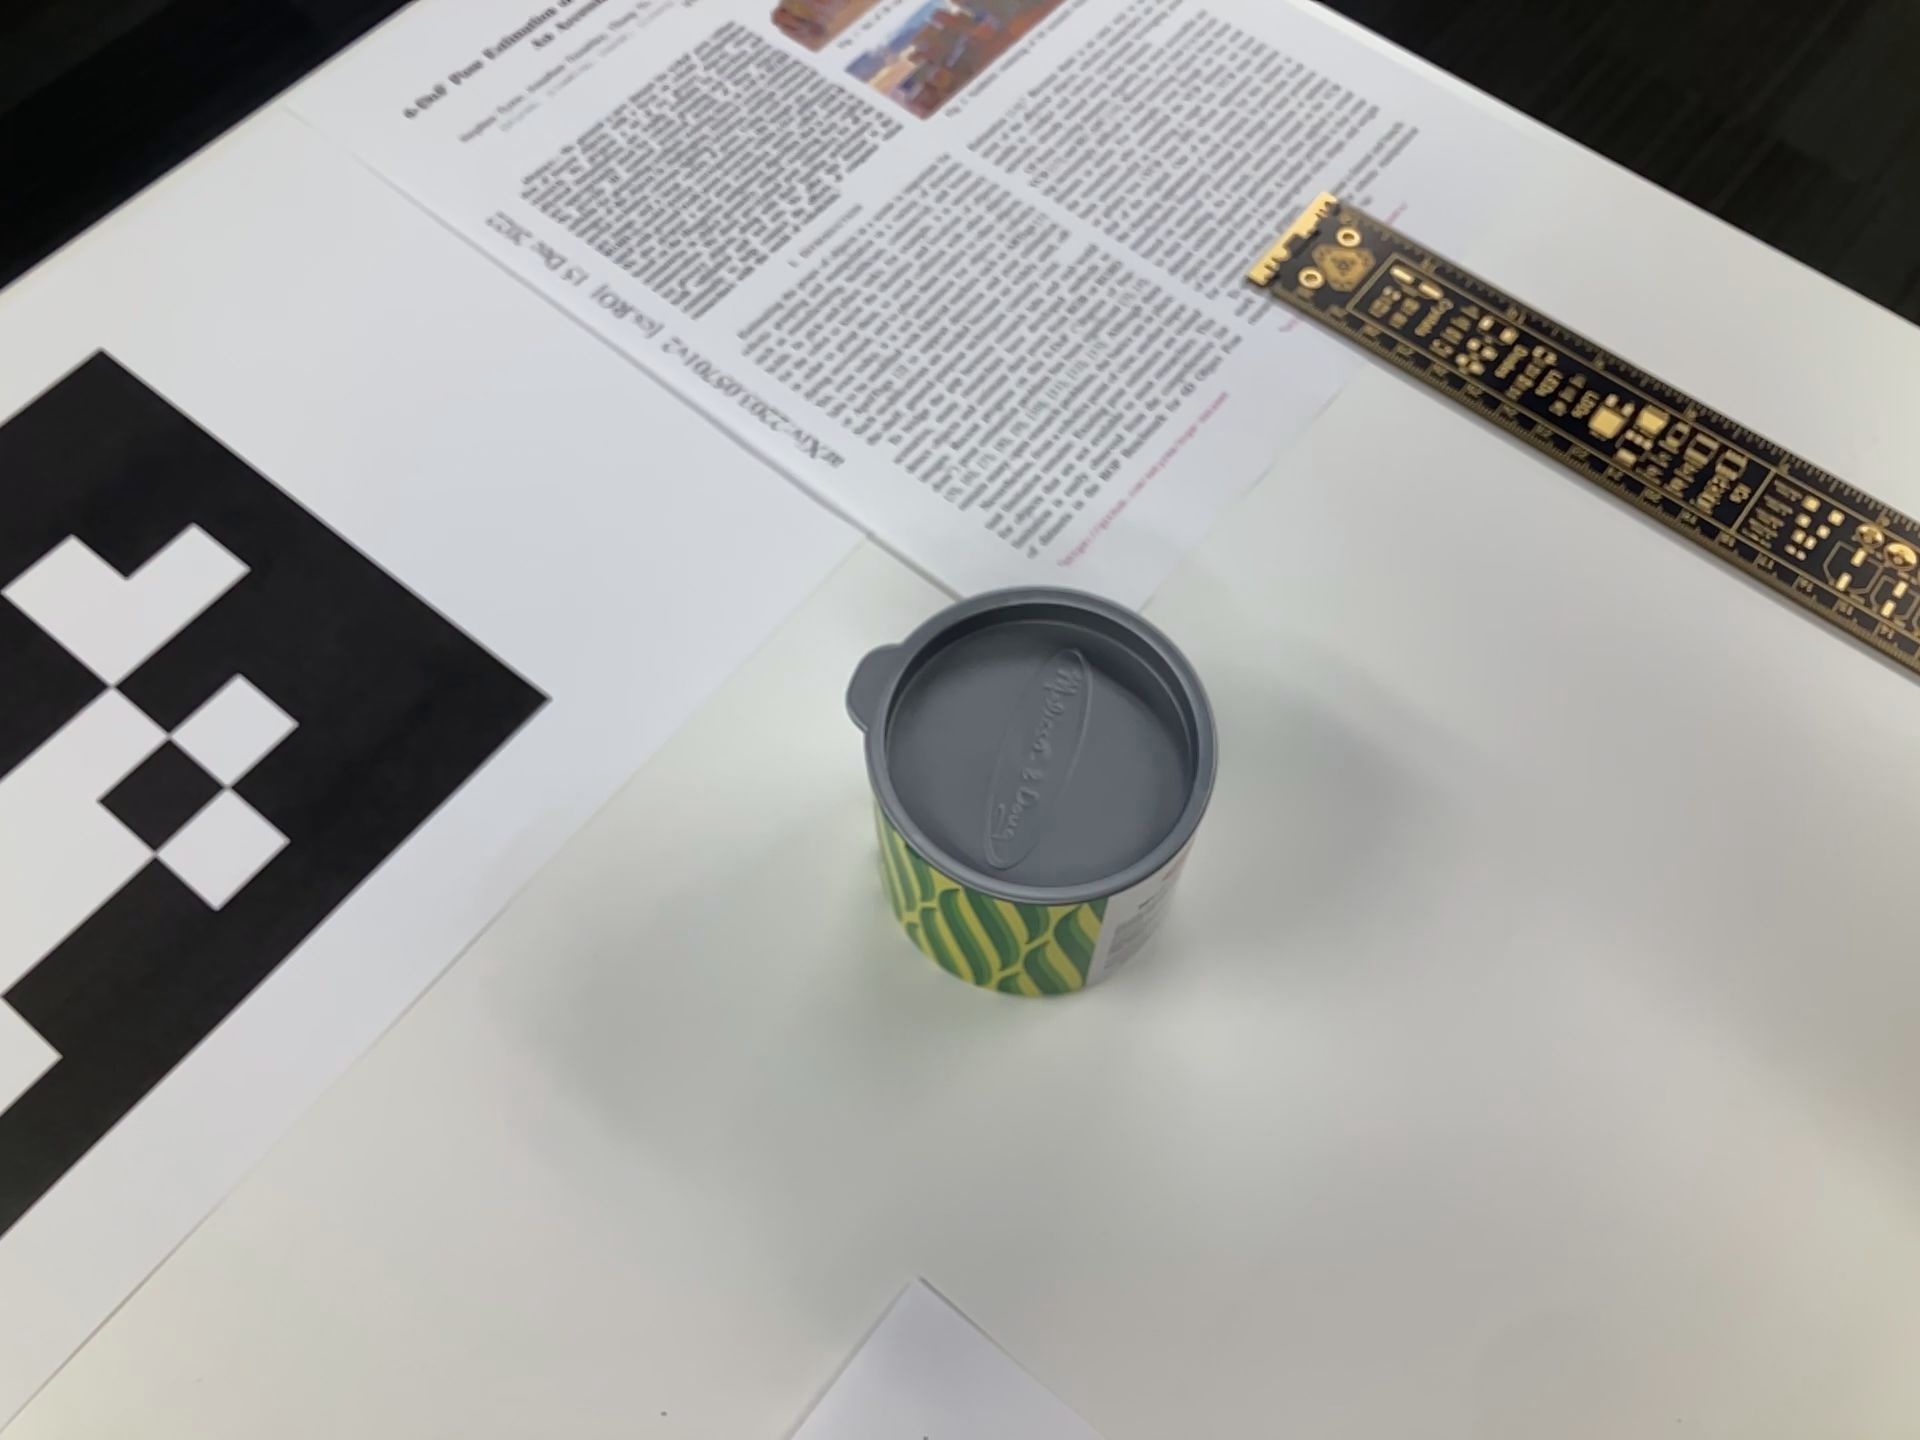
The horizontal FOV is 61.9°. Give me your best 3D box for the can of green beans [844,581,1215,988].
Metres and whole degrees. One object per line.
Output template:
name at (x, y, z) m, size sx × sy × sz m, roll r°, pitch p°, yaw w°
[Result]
can of green beans at (0.014, 0.015, 0.326) m, size 0.071 × 0.058 × 0.071 m, roll 0°, pitch 63°, yaw -1°
